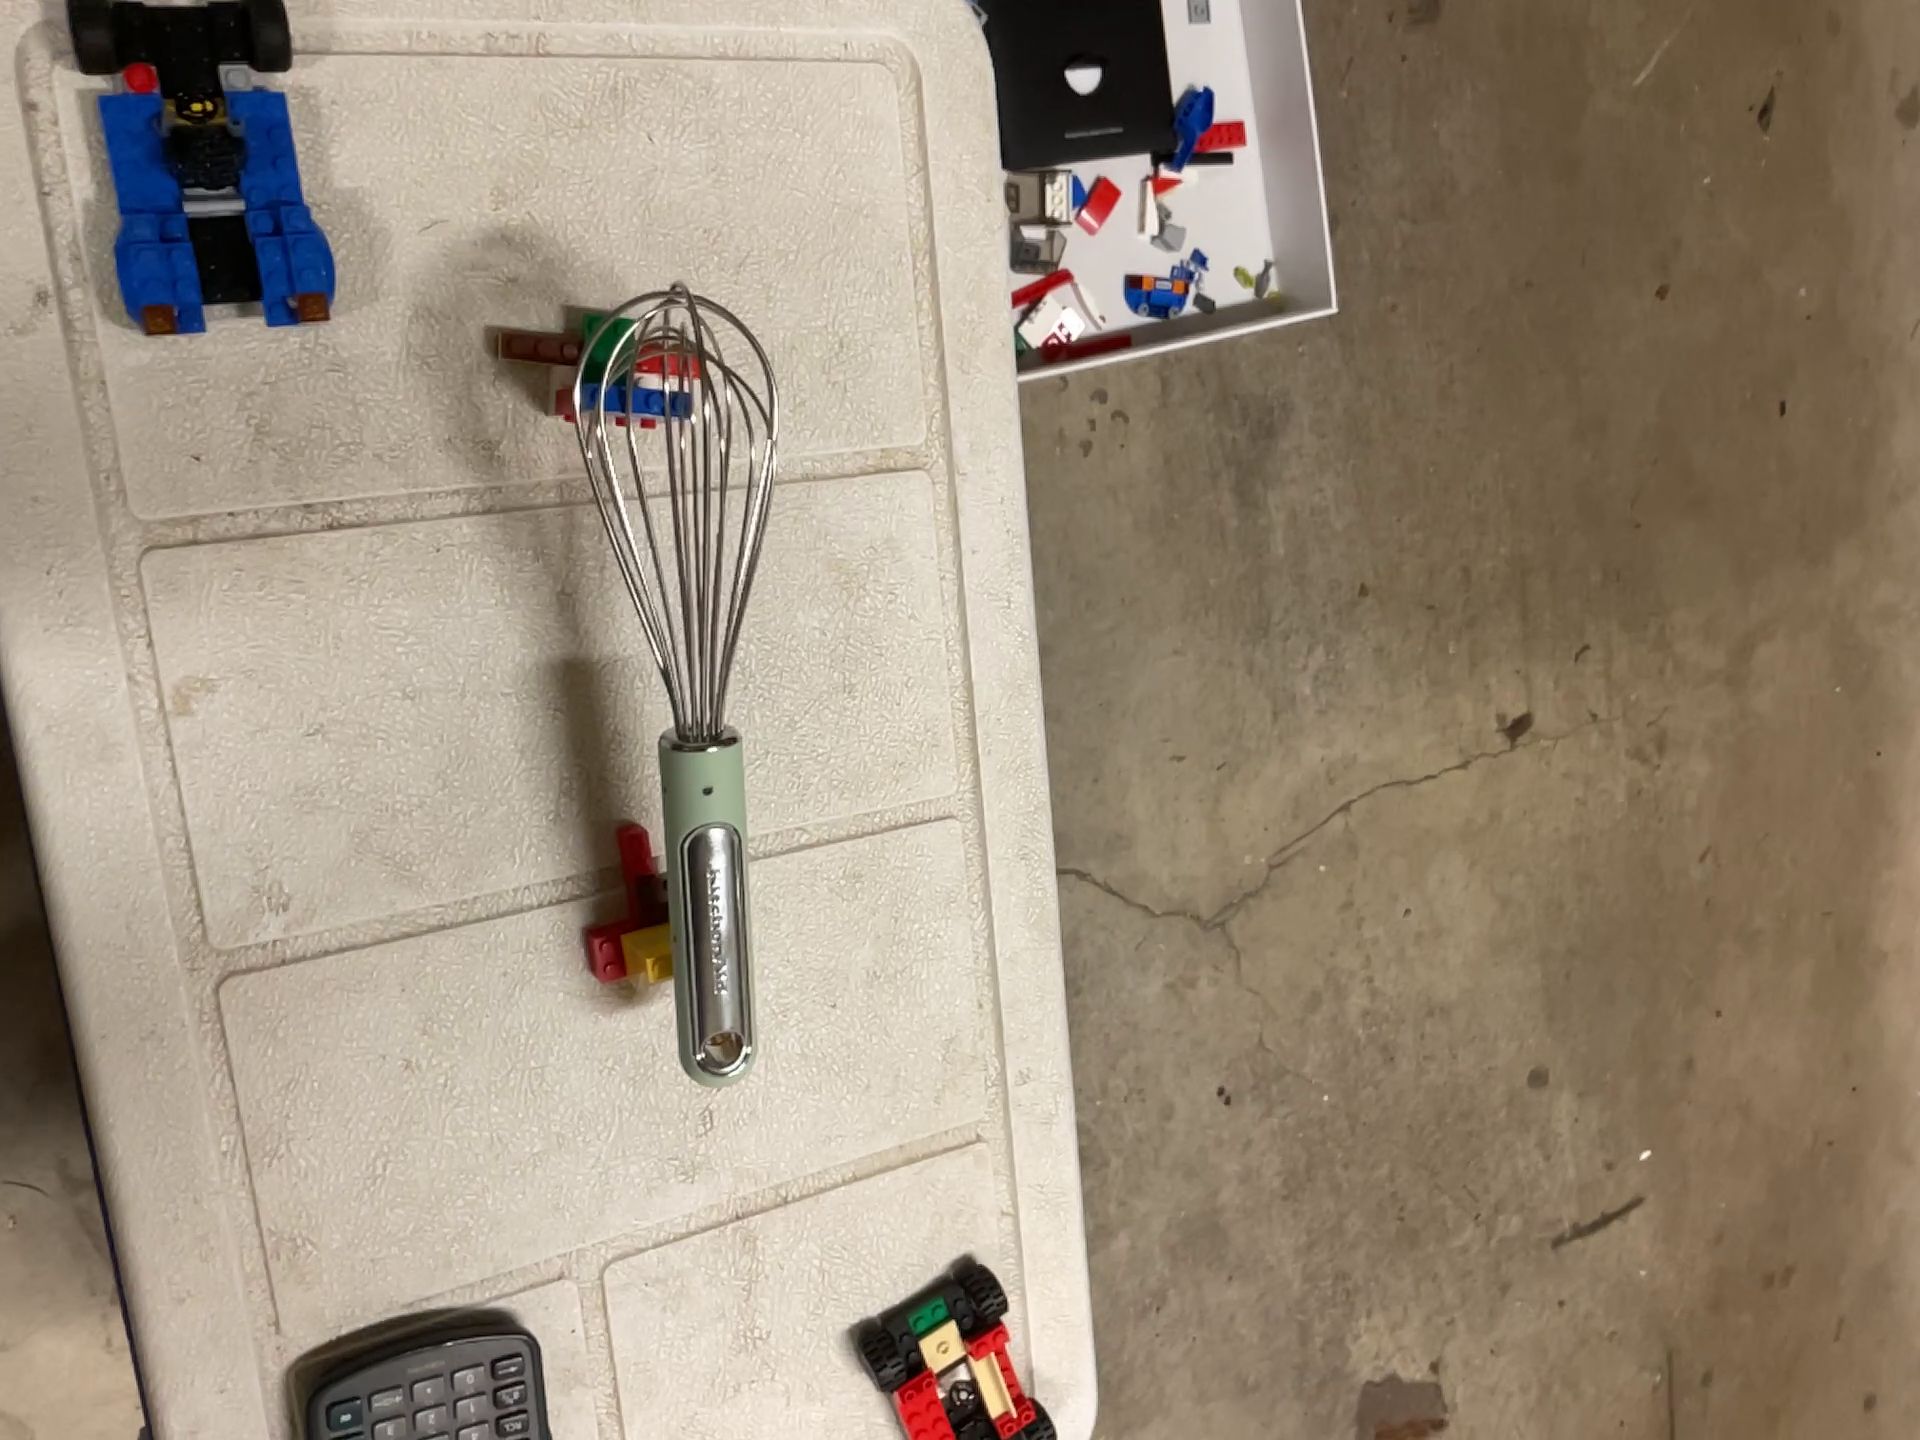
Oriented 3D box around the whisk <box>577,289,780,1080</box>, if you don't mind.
[{"bbox_3d":[-0.079,-0.003,0.482,0.058,0.059,0.246,-7,108,-20],"label":"whisk"}]
